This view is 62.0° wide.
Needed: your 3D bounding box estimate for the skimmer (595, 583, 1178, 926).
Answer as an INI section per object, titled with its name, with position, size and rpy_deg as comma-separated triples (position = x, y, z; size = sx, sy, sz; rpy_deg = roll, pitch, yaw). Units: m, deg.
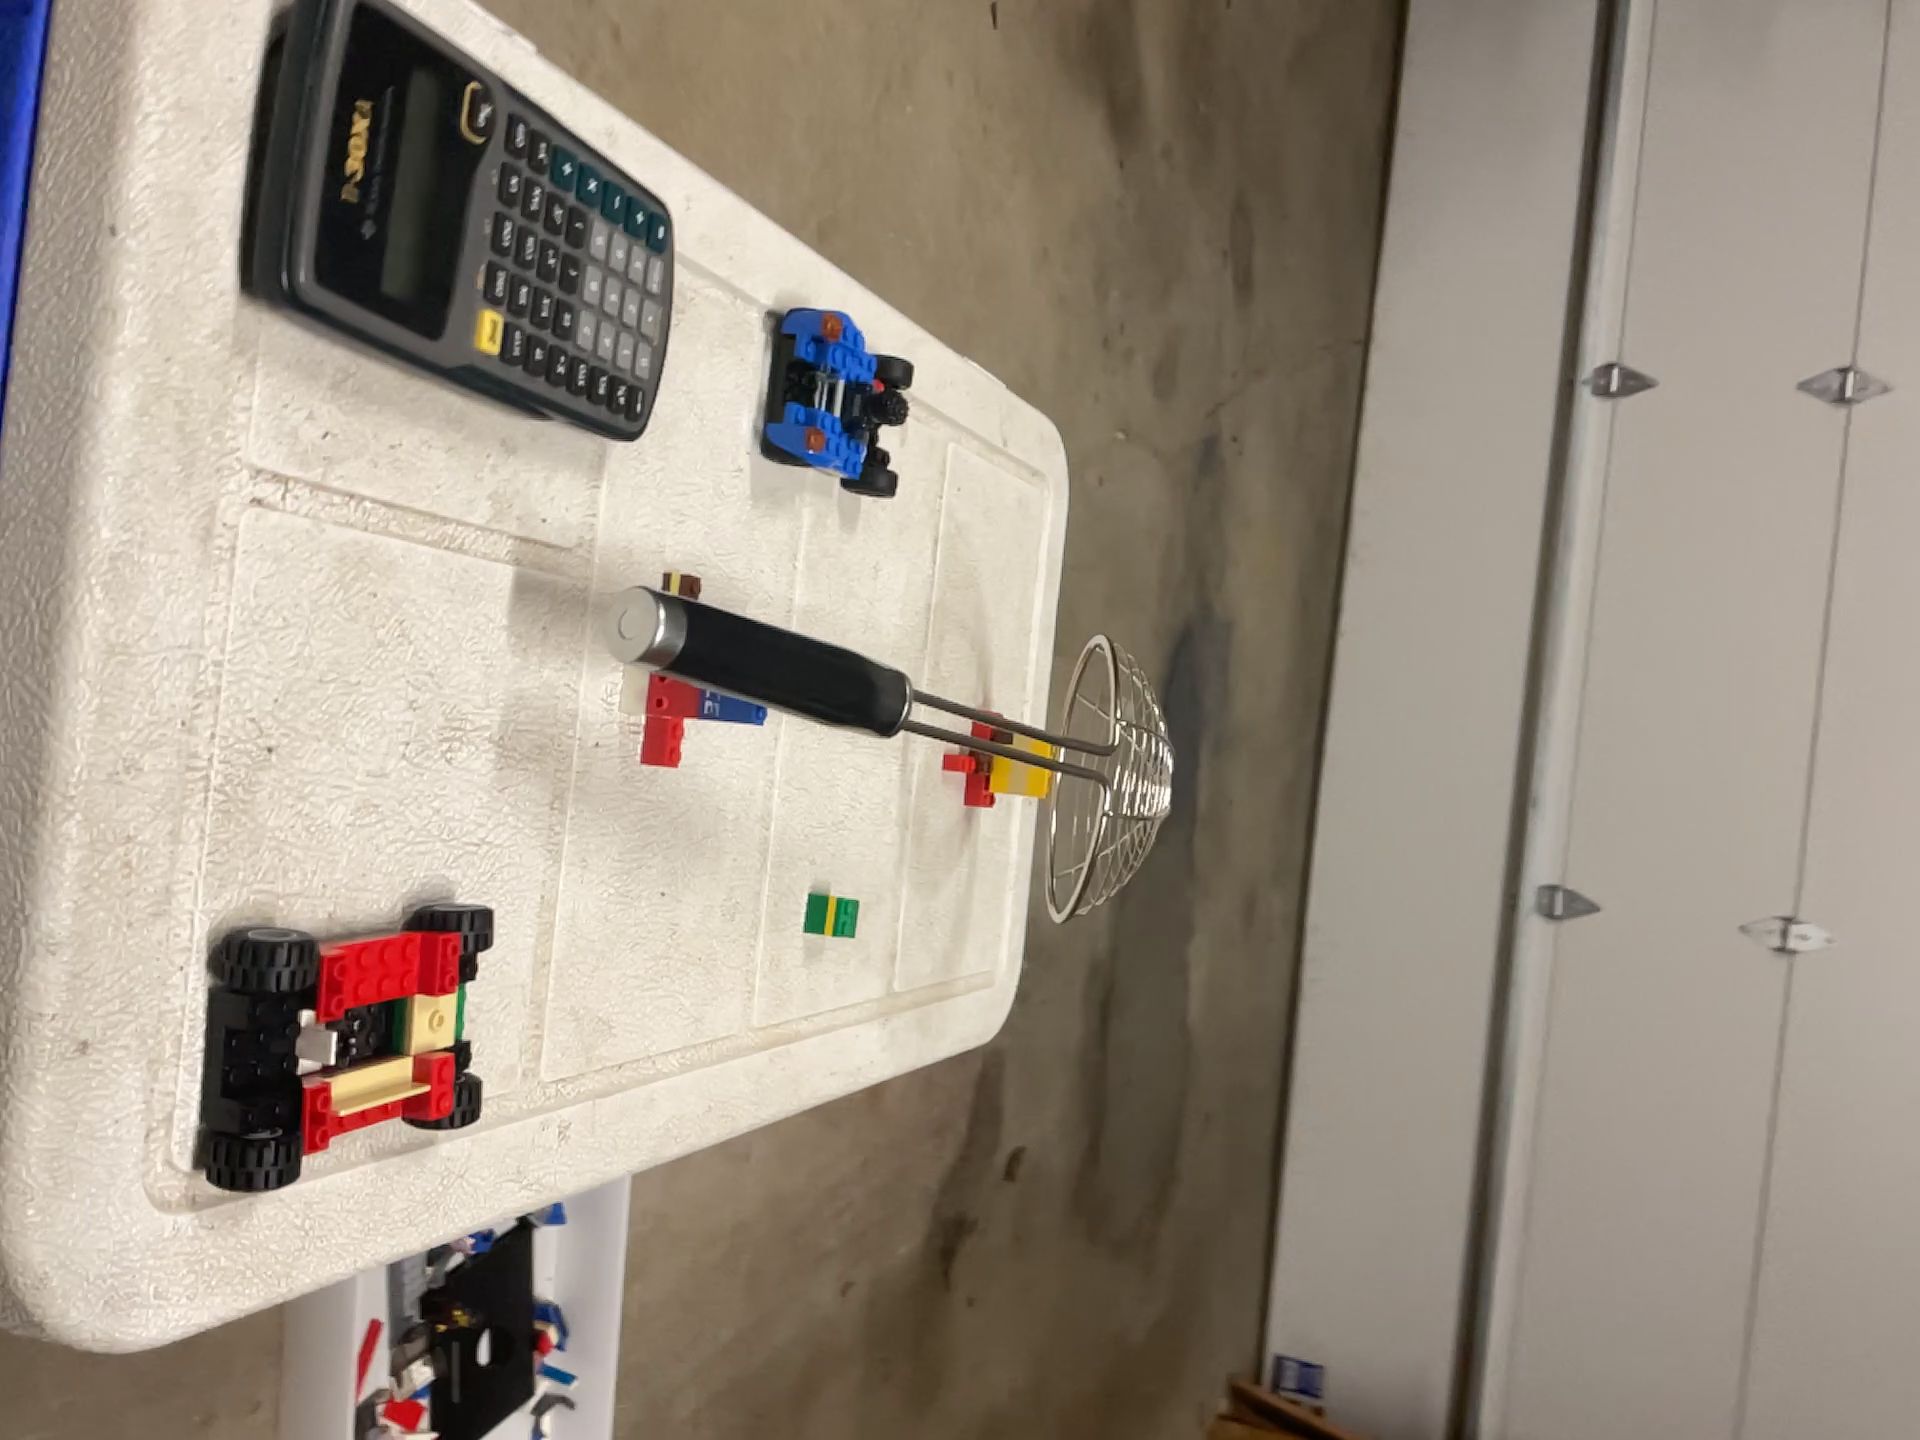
[skimmer]
position = -0.016, 0.004, 0.587
size = 0.363, 0.090, 0.127
rpy_deg = 17, 79, -55
